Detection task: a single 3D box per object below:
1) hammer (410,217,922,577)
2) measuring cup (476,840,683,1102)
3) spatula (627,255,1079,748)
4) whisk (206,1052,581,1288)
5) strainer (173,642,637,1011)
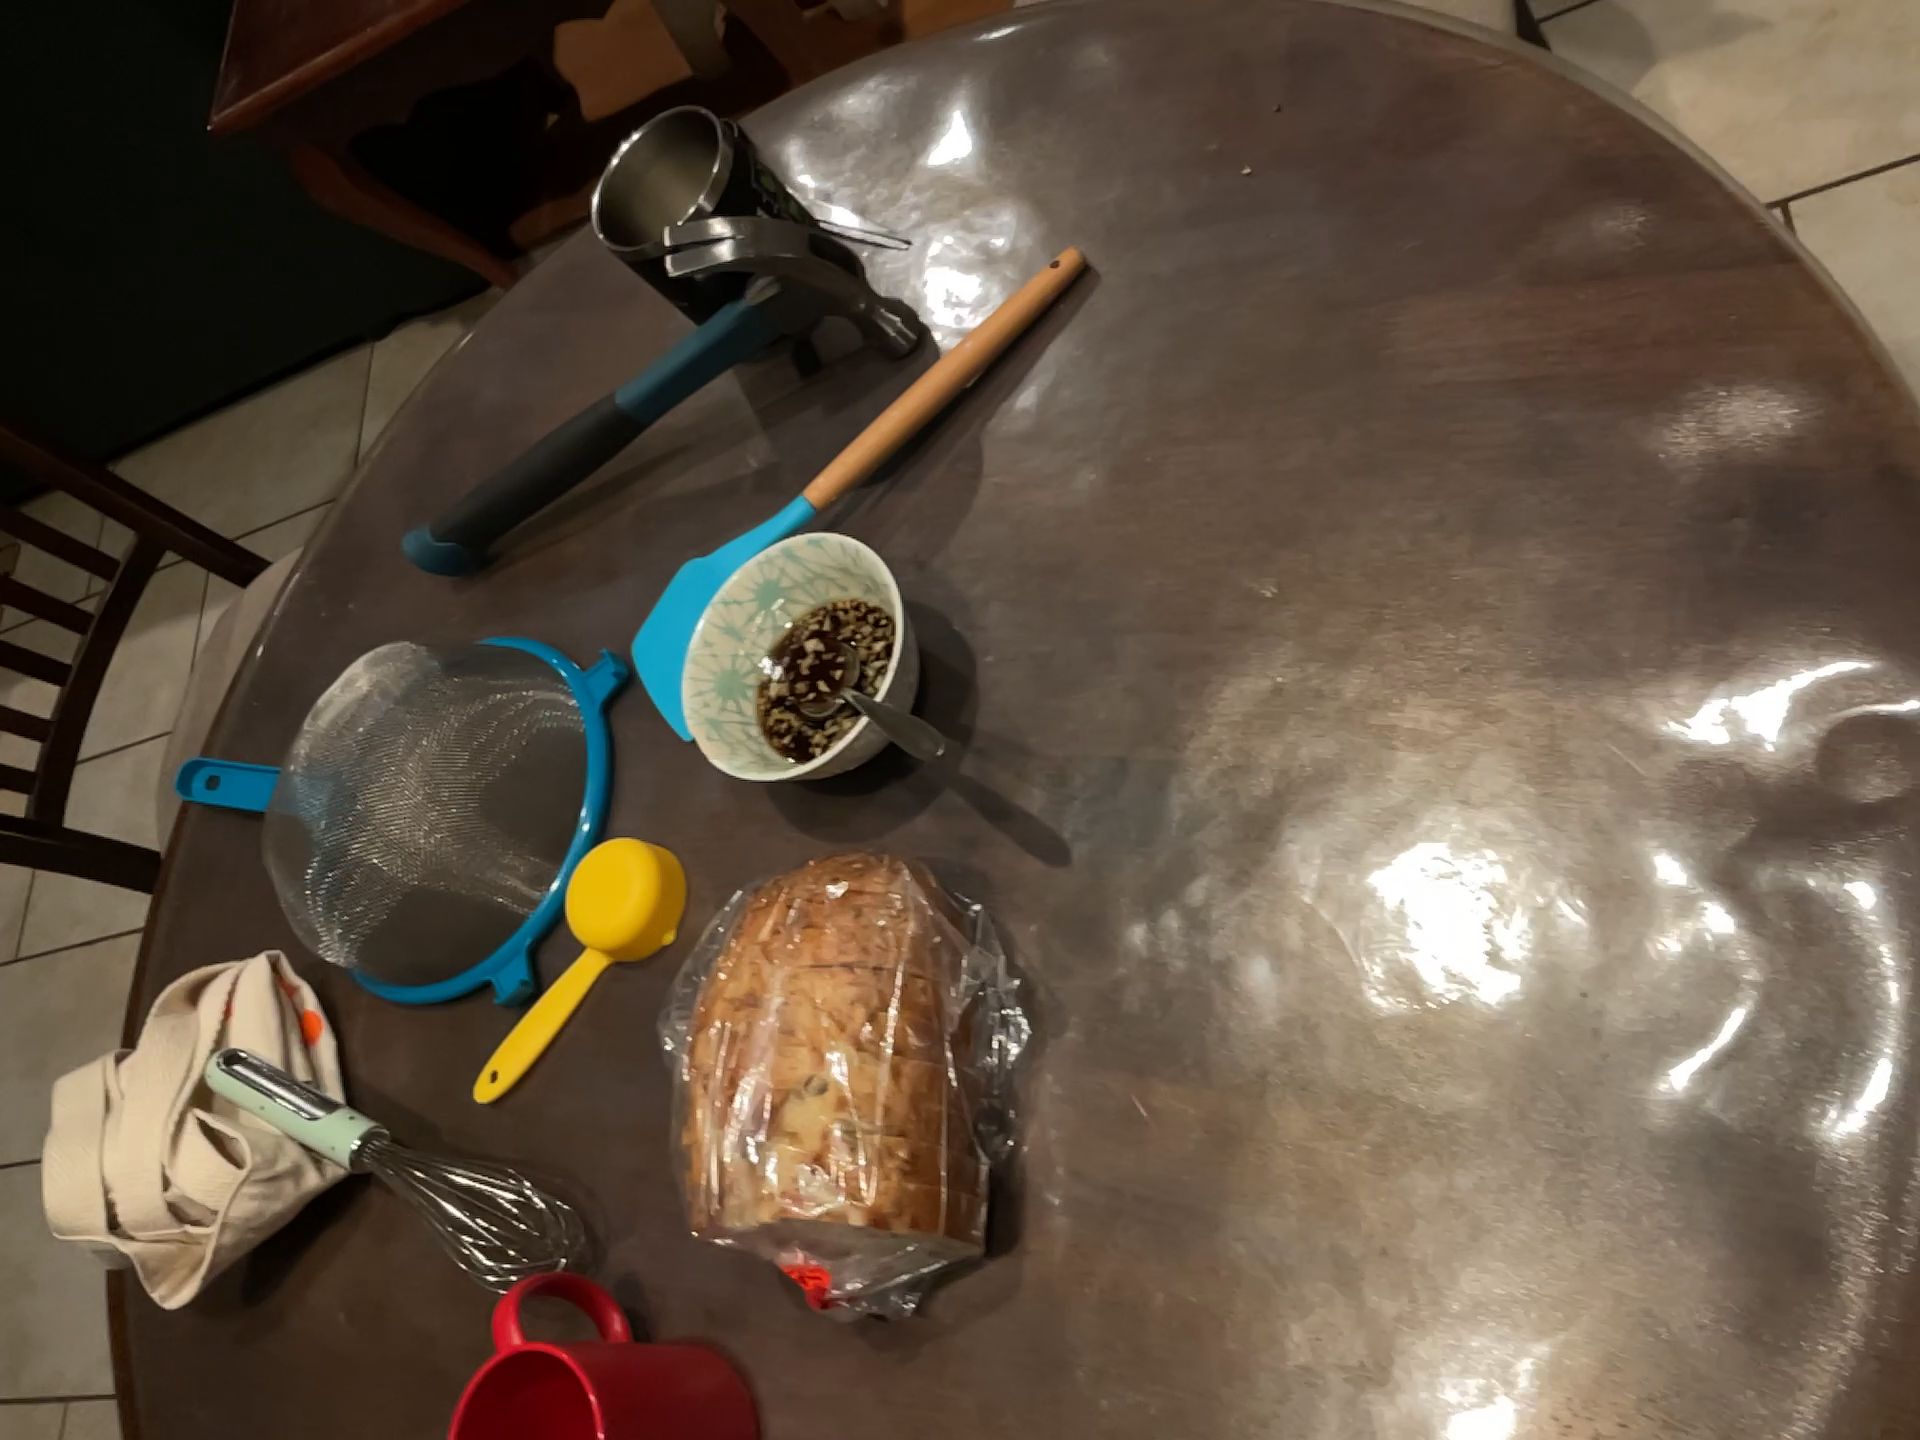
[{"bbox_3d":[-0.185,-0.165,0.882,0.331,0.128,0.033,-28,54,29],"label":"hammer"},{"bbox_3d":[-0.199,0.126,0.797,0.062,0.029,0.156,39,90,37],"label":"measuring cup"},{"bbox_3d":[-0.057,-0.121,0.825,0.317,0.044,0.082,-42,53,4],"label":"spatula"},{"bbox_3d":[-0.283,0.212,0.782,0.246,0.058,0.059,16,109,27],"label":"whisk"},{"bbox_3d":[-0.351,0.036,0.890,0.340,0.095,0.211,4,71,28],"label":"strainer"}]
